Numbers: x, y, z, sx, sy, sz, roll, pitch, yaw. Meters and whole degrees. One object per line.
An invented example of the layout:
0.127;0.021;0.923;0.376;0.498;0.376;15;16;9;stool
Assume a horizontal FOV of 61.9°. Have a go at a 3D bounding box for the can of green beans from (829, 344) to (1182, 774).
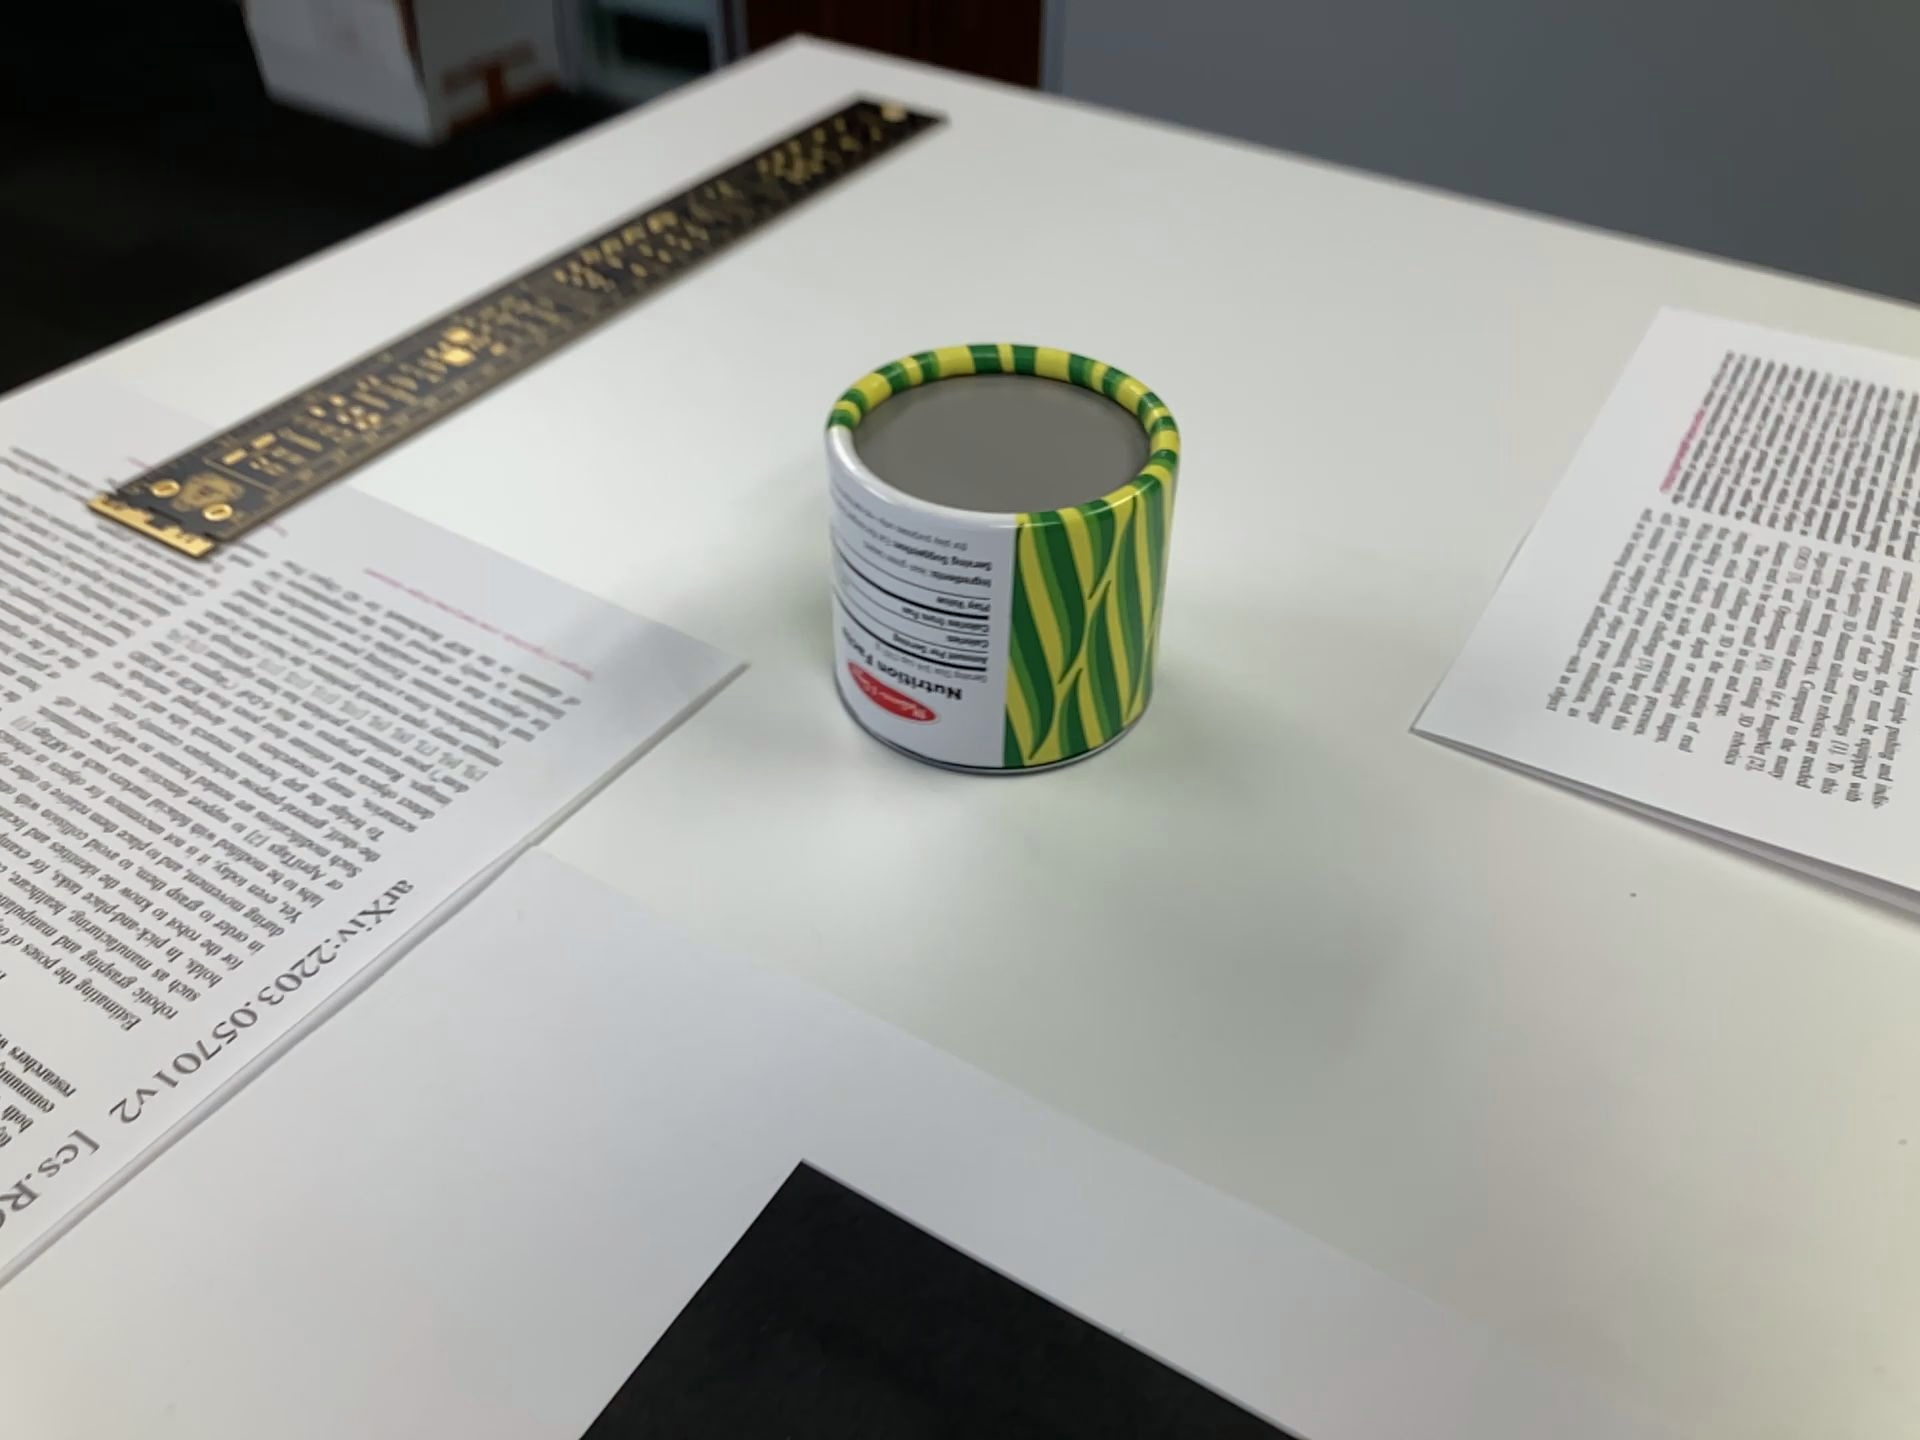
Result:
0.008;-0.033;0.314;0.071;0.058;0.071;1;40;0;can of green beans
